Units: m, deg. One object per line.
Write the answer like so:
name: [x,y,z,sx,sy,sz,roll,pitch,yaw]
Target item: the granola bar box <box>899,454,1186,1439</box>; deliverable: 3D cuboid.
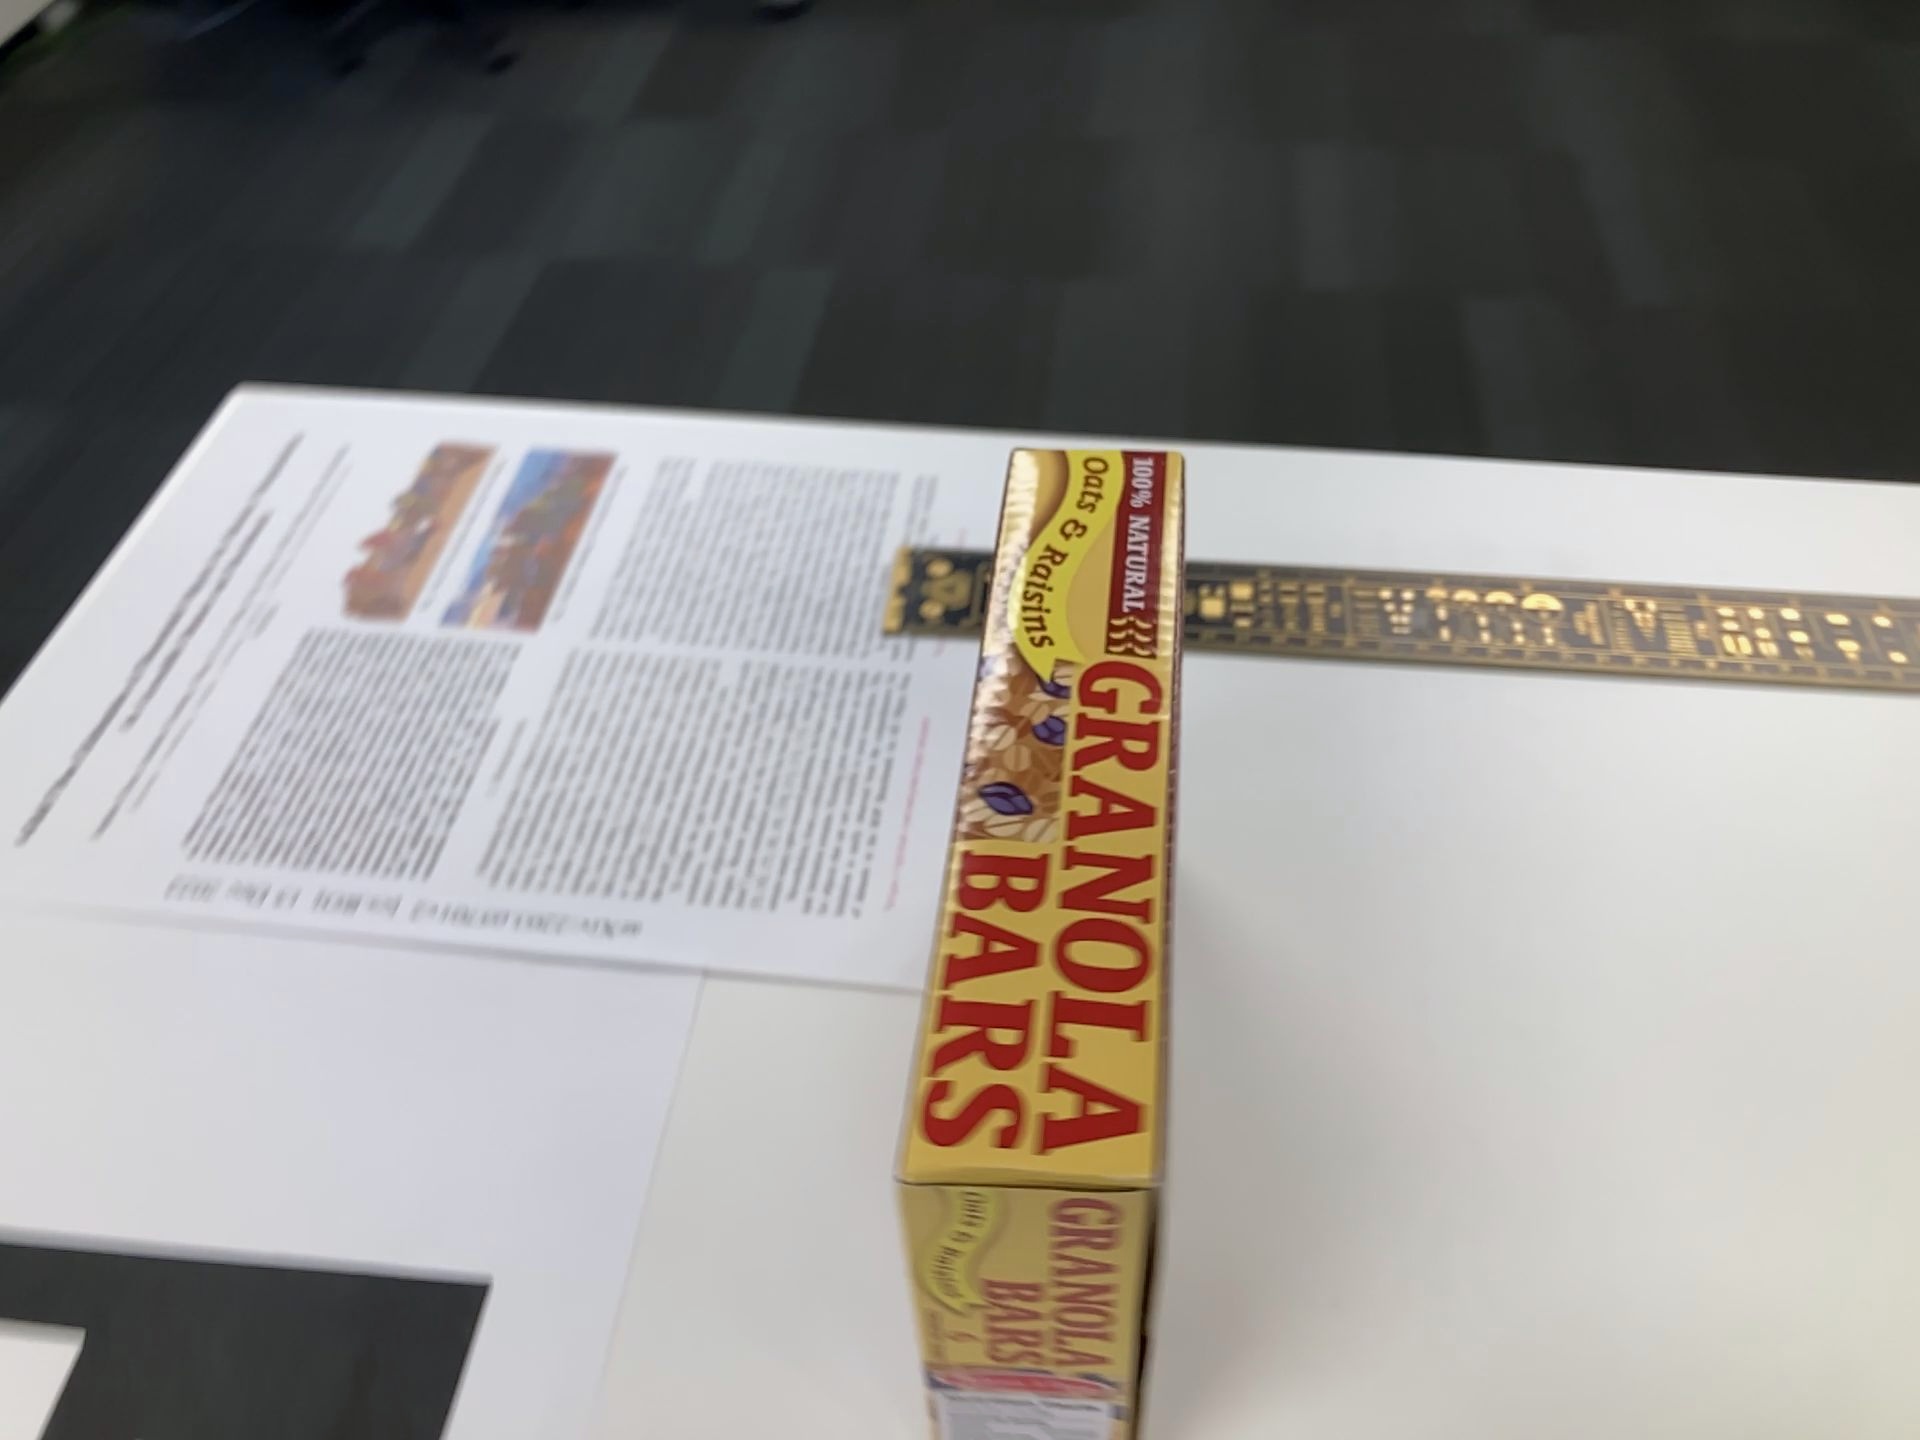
granola bar box: [0.022,0.045,0.319,0.039,0.124,0.165,3,46,7]
